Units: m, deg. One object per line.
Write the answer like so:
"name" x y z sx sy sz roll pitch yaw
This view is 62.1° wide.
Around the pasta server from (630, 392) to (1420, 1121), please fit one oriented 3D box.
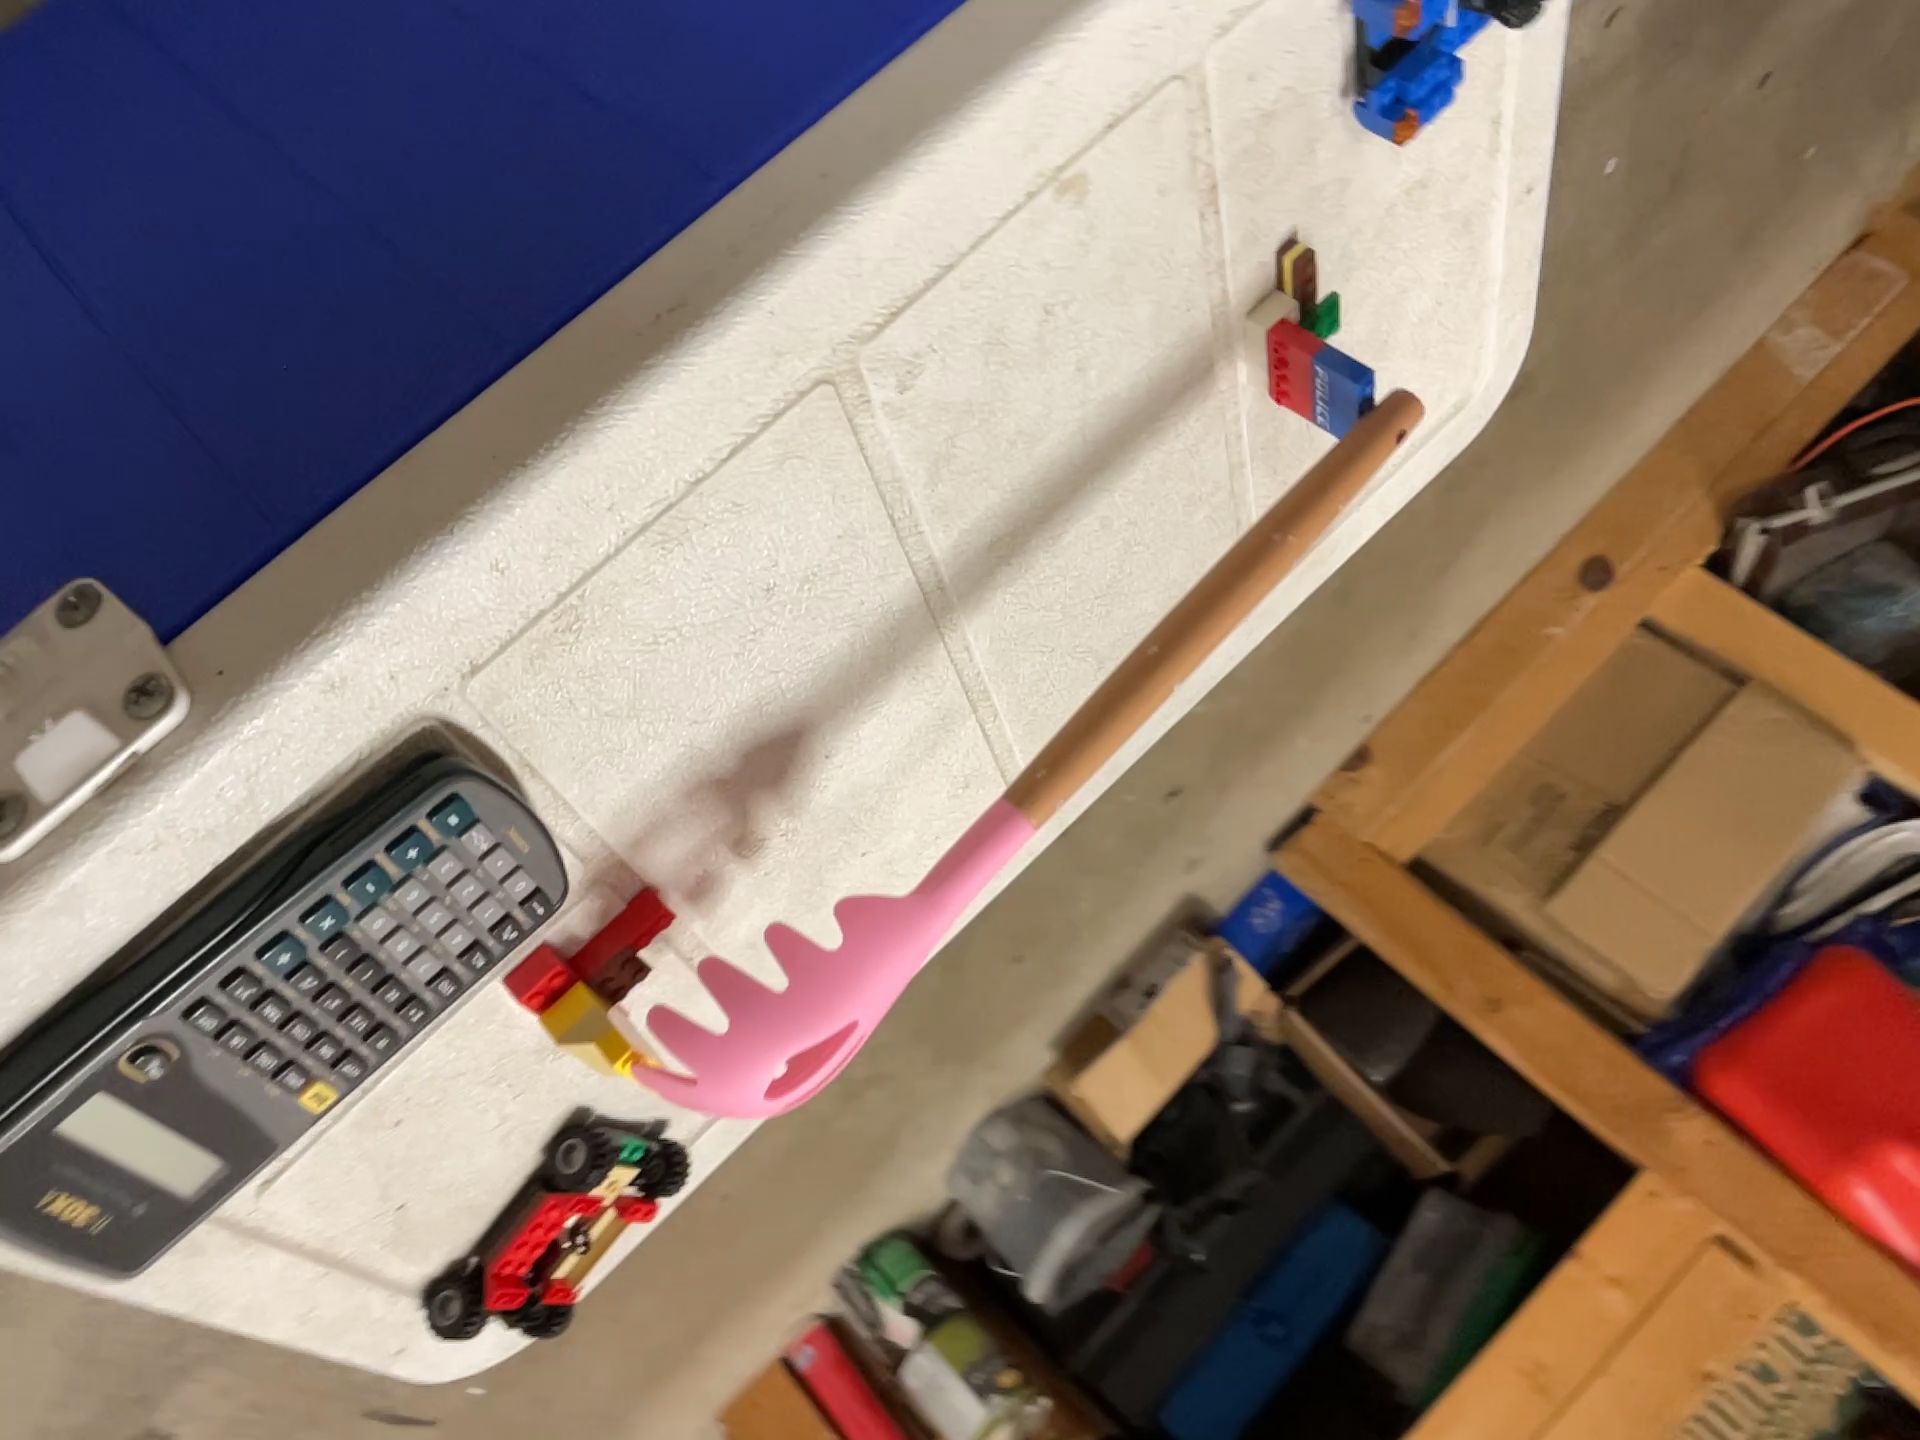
"pasta server" 0.030 0.005 0.485 0.316 0.040 0.060 -46 149 -12
